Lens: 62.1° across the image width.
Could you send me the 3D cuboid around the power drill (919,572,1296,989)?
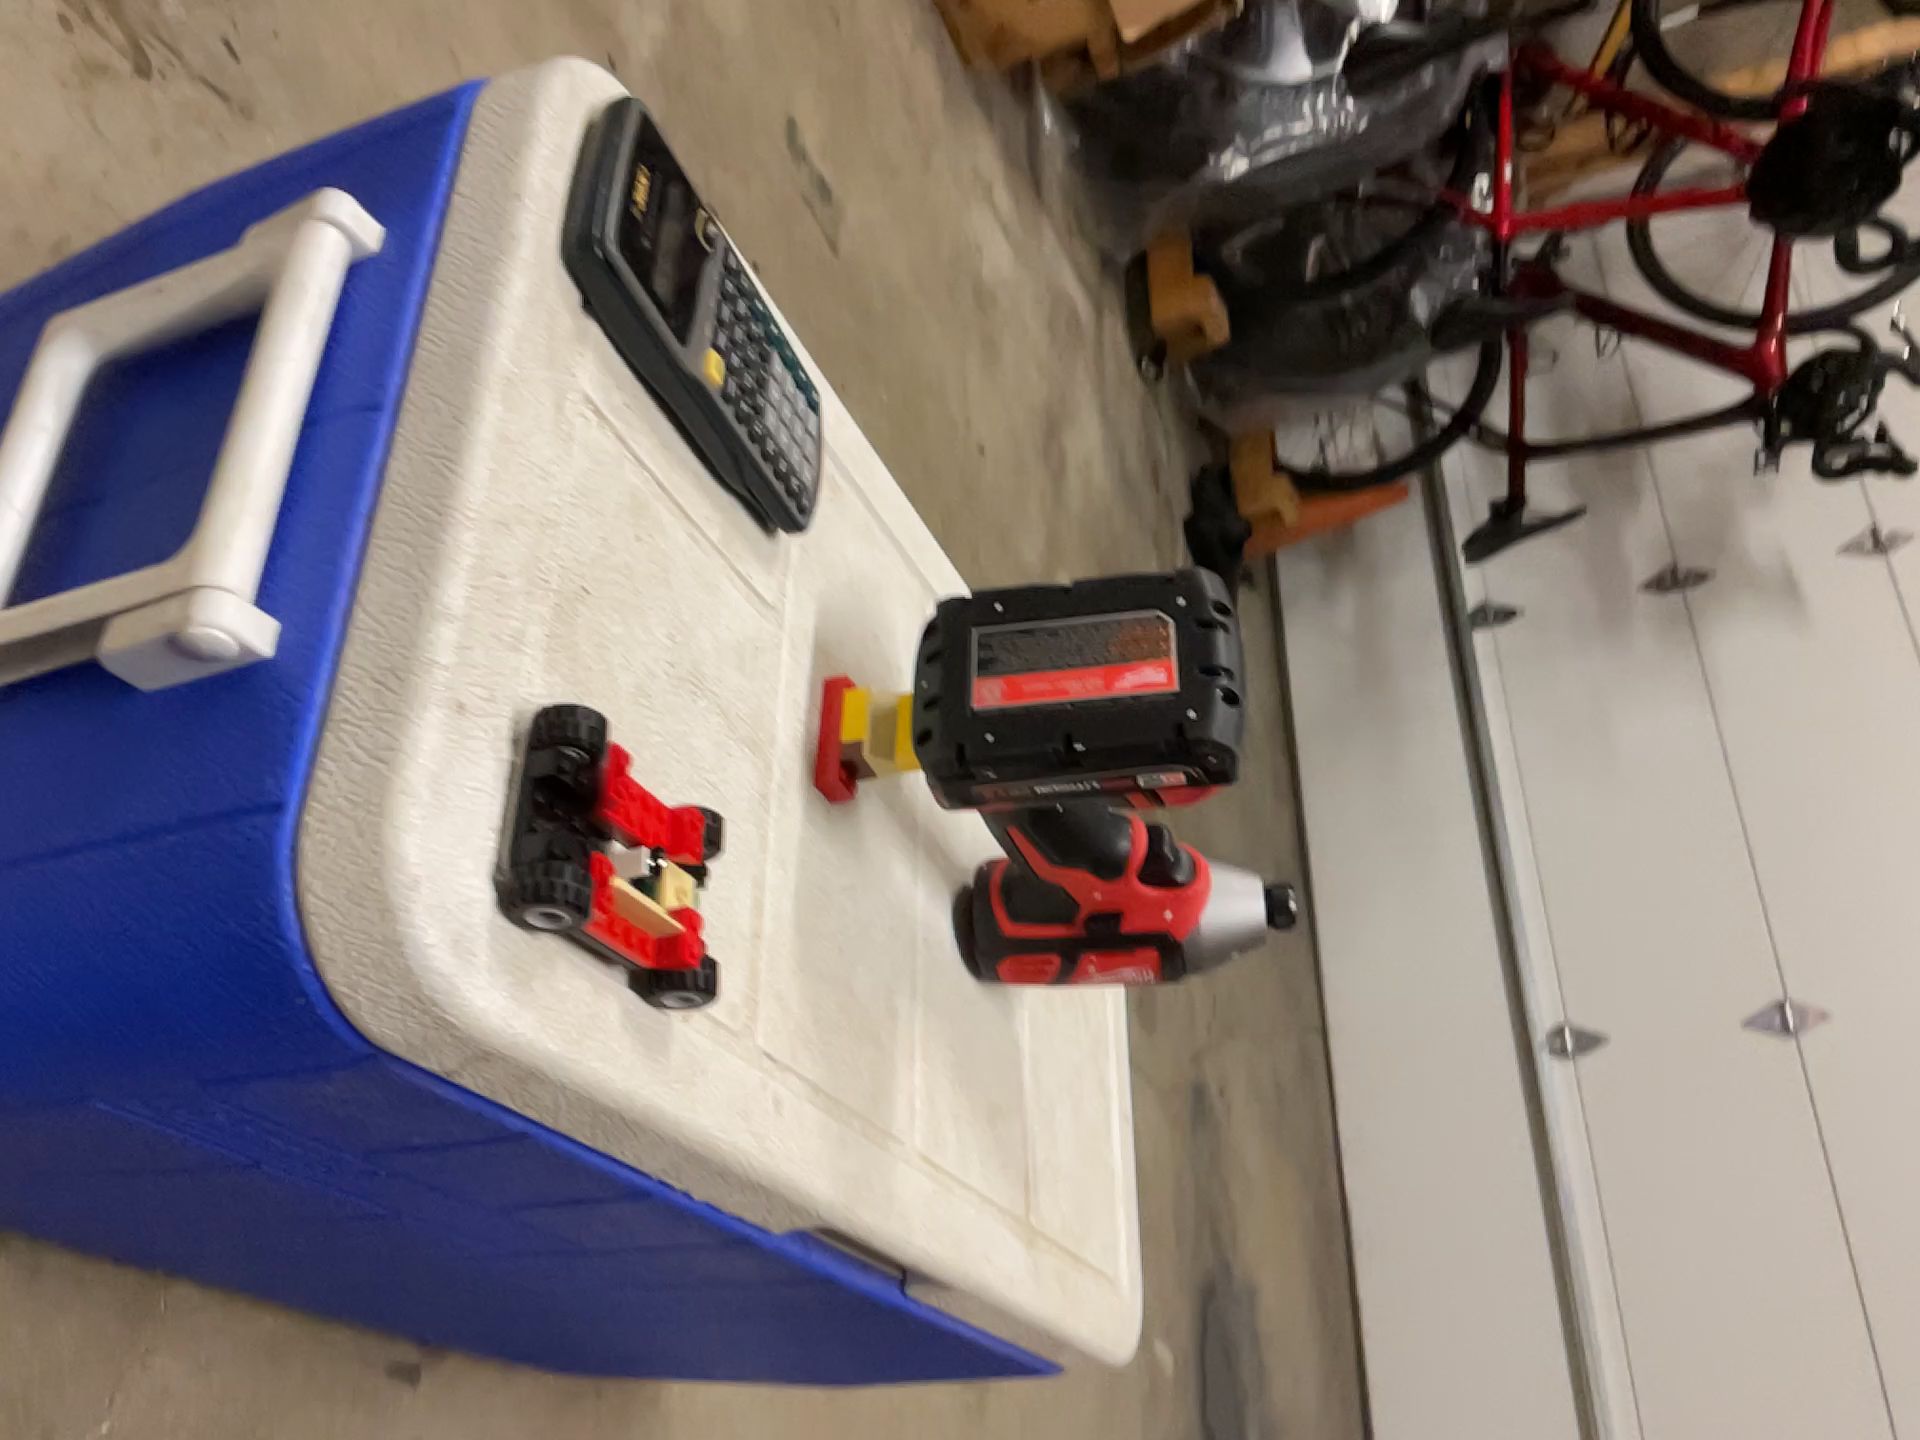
[{"bbox_3d":[0.064,0.041,0.645,0.219,0.143,0.079,75,14,-54],"label":"power drill"}]
